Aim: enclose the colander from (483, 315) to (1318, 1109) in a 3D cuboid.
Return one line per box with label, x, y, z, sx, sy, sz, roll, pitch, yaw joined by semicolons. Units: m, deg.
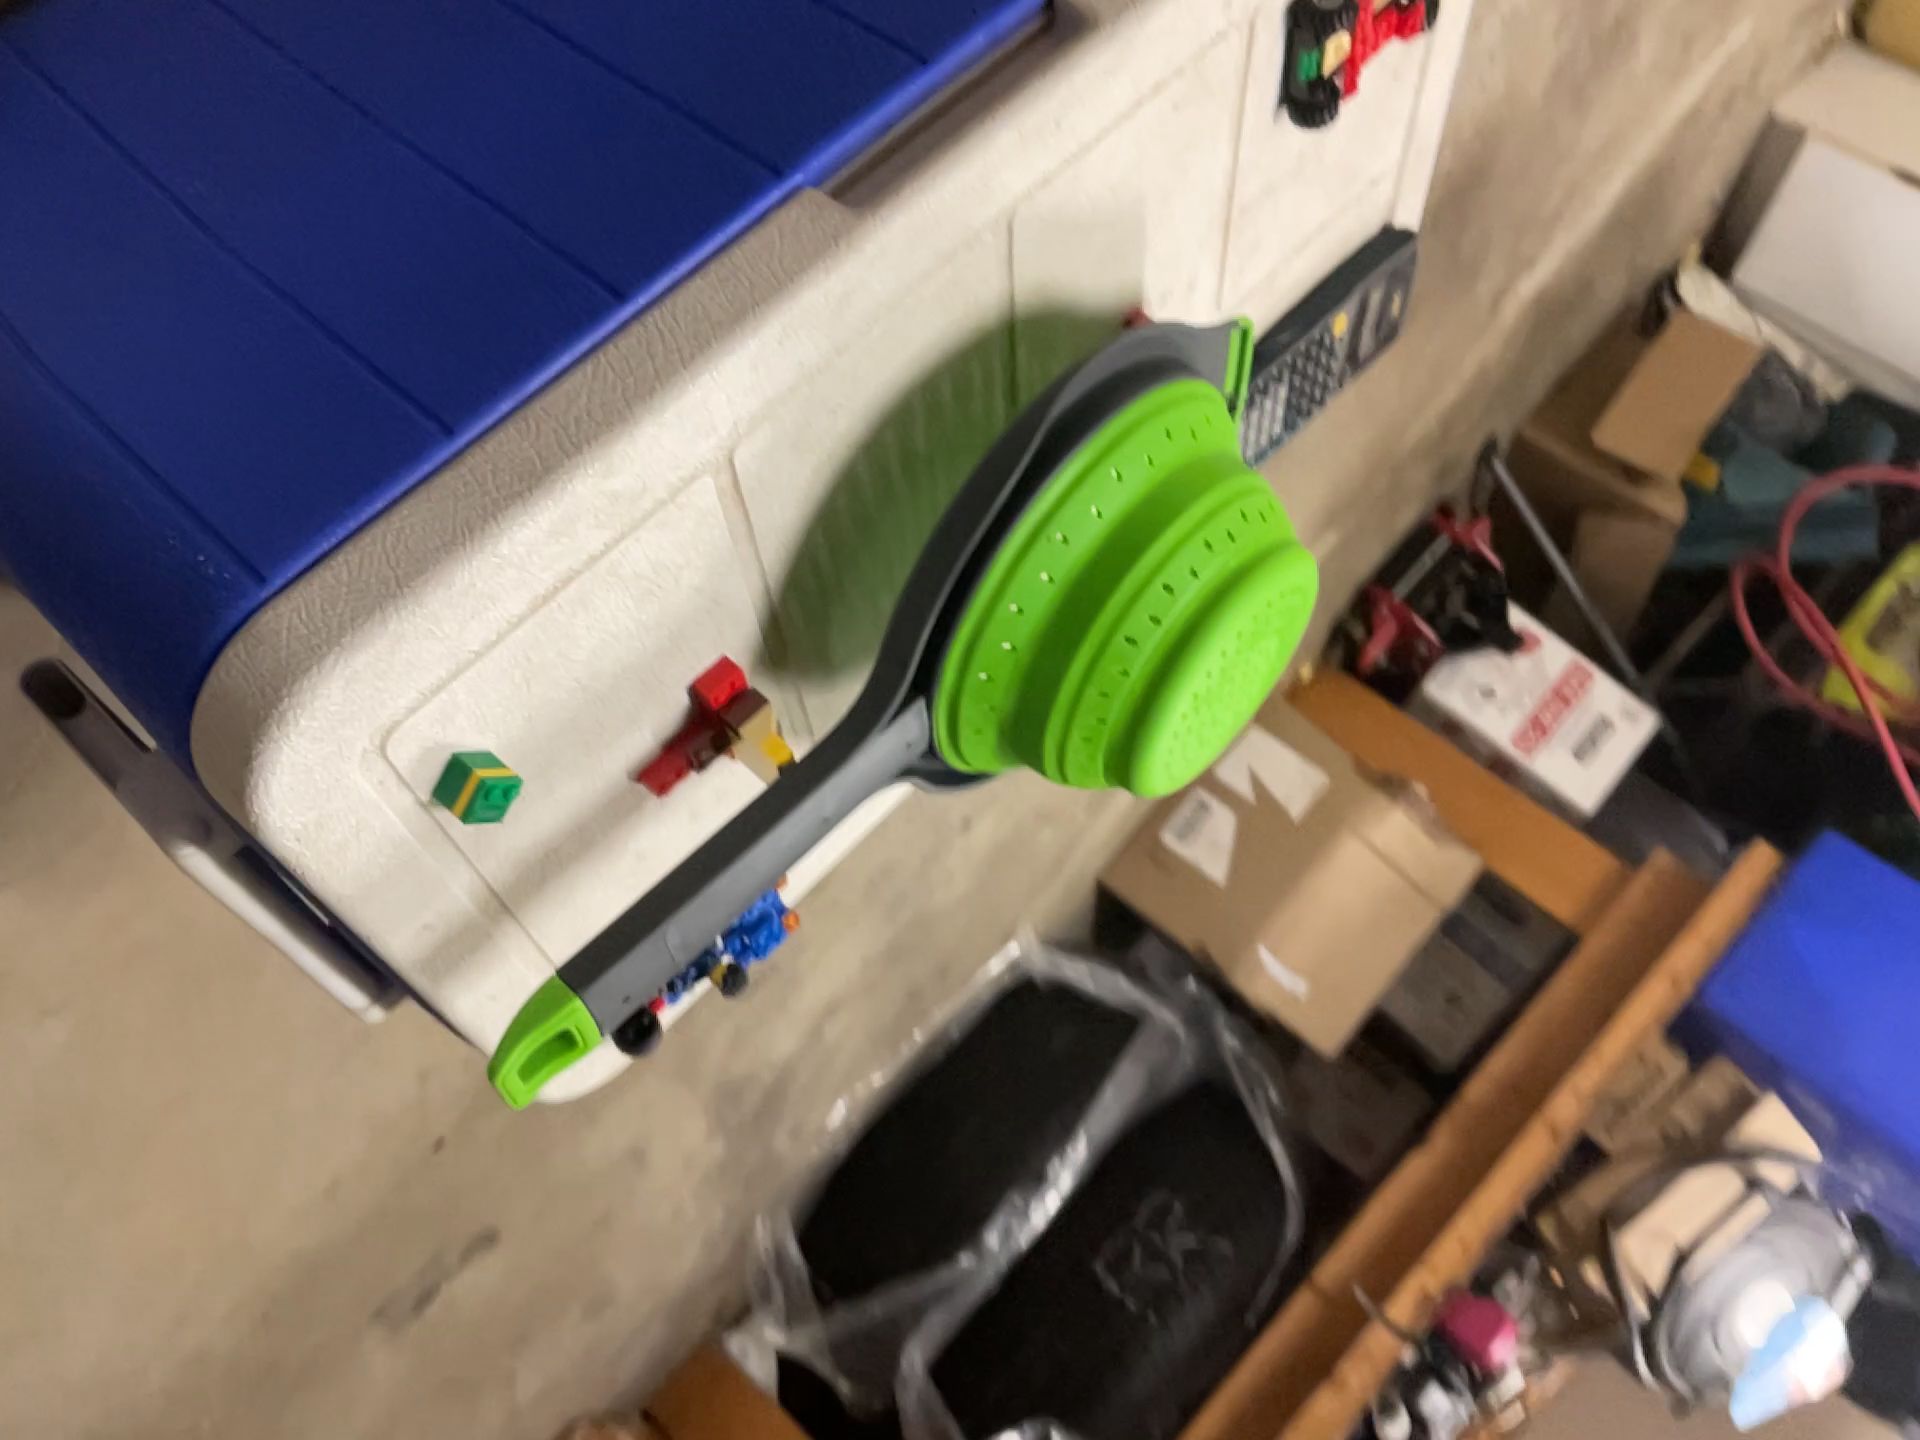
colander;0.012;0.012;0.568;0.397;0.095;0.204;-43;156;-23
